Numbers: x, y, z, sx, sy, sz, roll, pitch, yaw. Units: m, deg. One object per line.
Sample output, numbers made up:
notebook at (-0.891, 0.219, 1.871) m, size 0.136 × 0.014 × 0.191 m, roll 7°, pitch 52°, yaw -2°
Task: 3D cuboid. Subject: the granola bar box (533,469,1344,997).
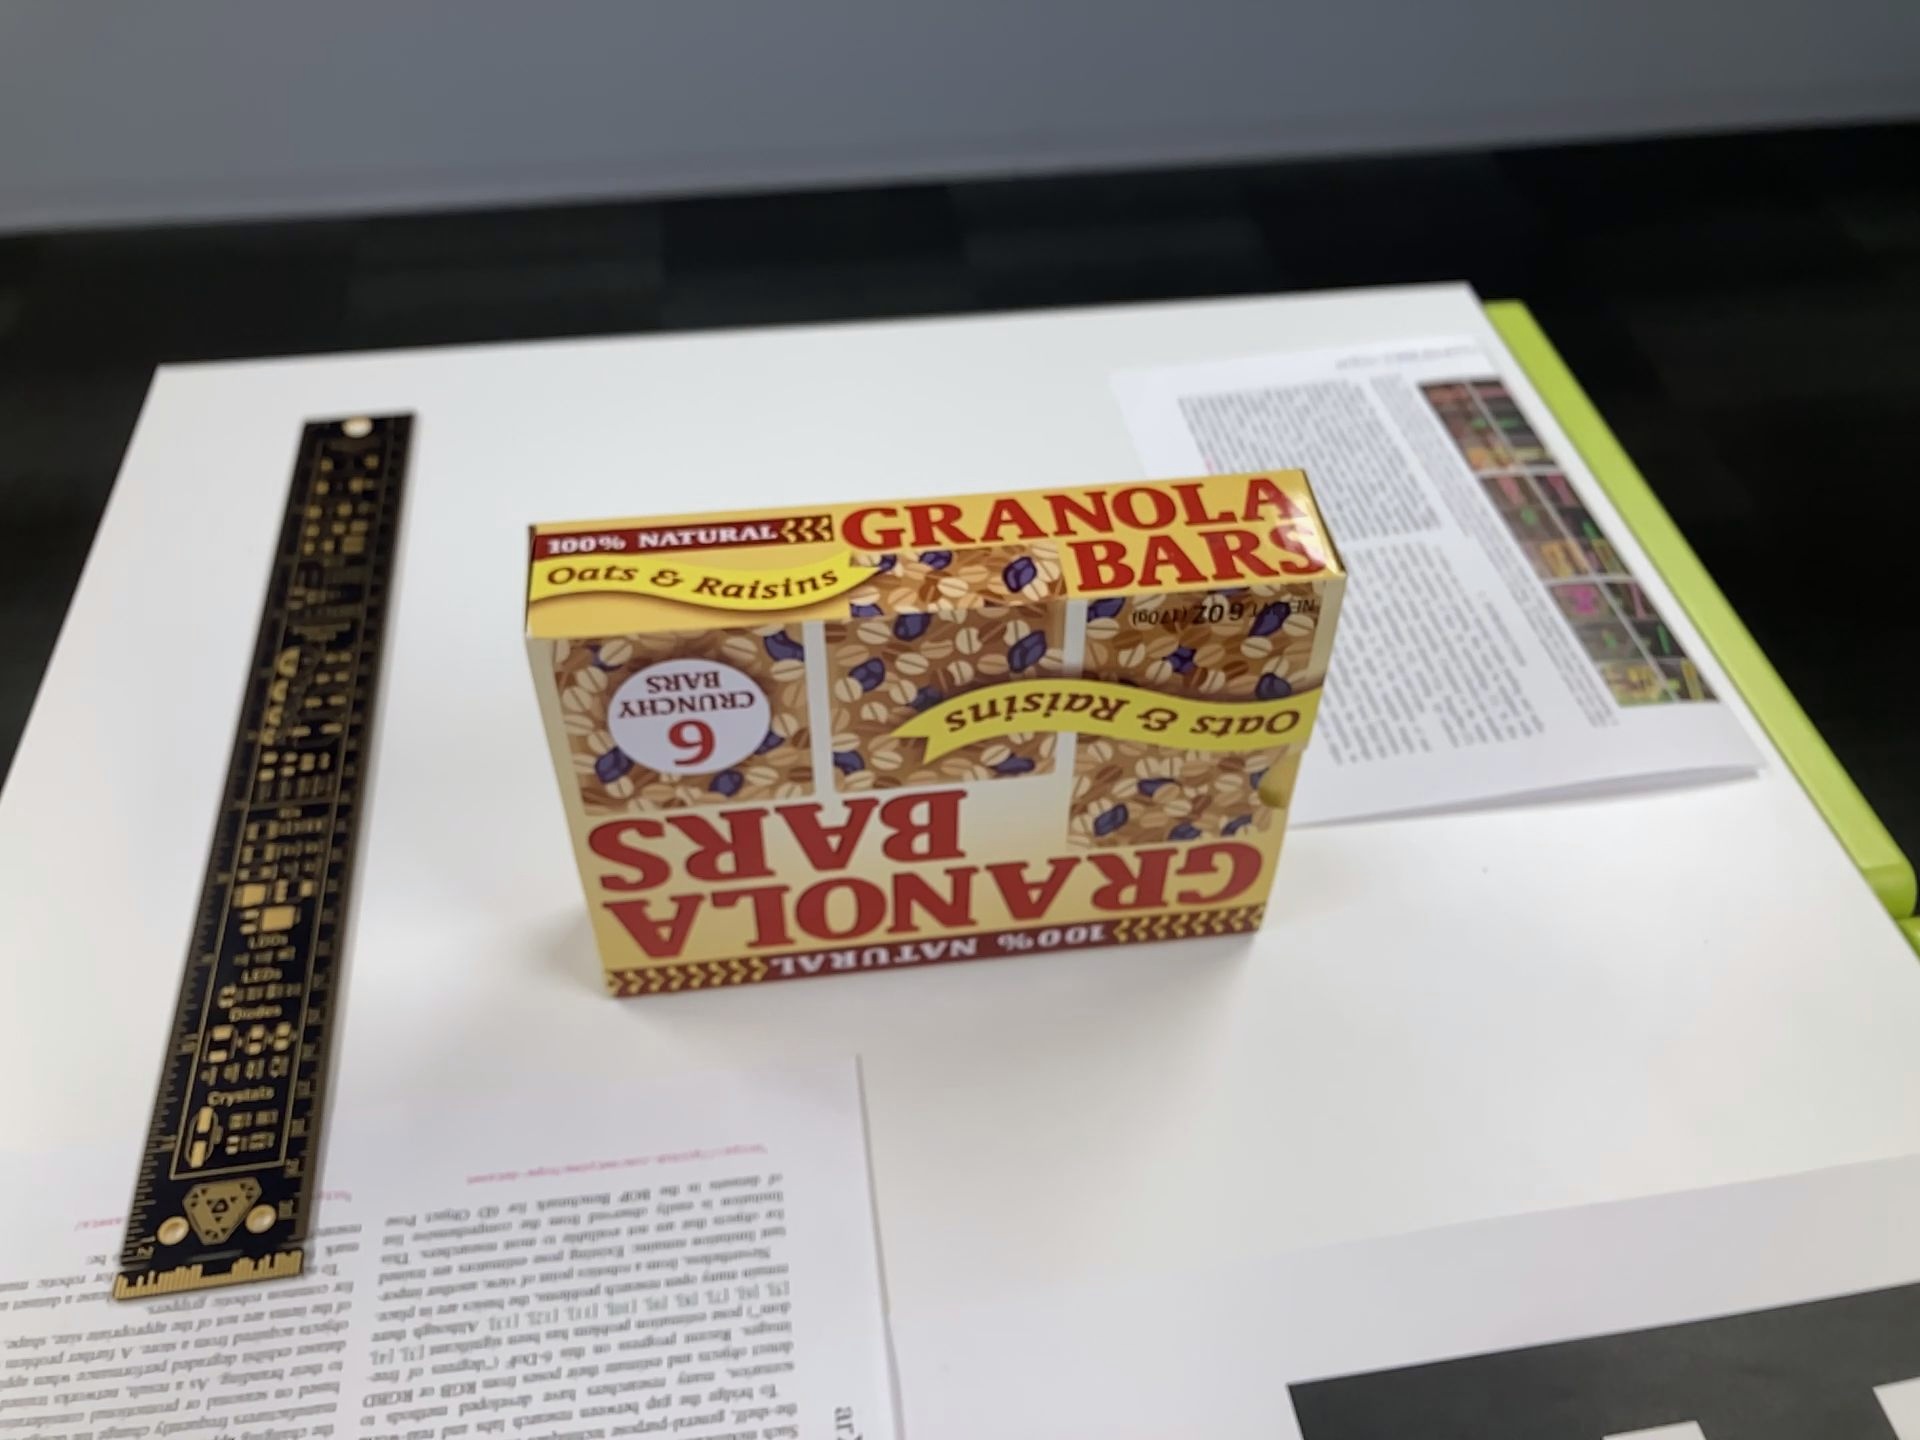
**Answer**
granola bar box at (-0.005, 0.007, 0.372) m, size 0.165 × 0.124 × 0.039 m, roll -5°, pitch 47°, yaw -6°
